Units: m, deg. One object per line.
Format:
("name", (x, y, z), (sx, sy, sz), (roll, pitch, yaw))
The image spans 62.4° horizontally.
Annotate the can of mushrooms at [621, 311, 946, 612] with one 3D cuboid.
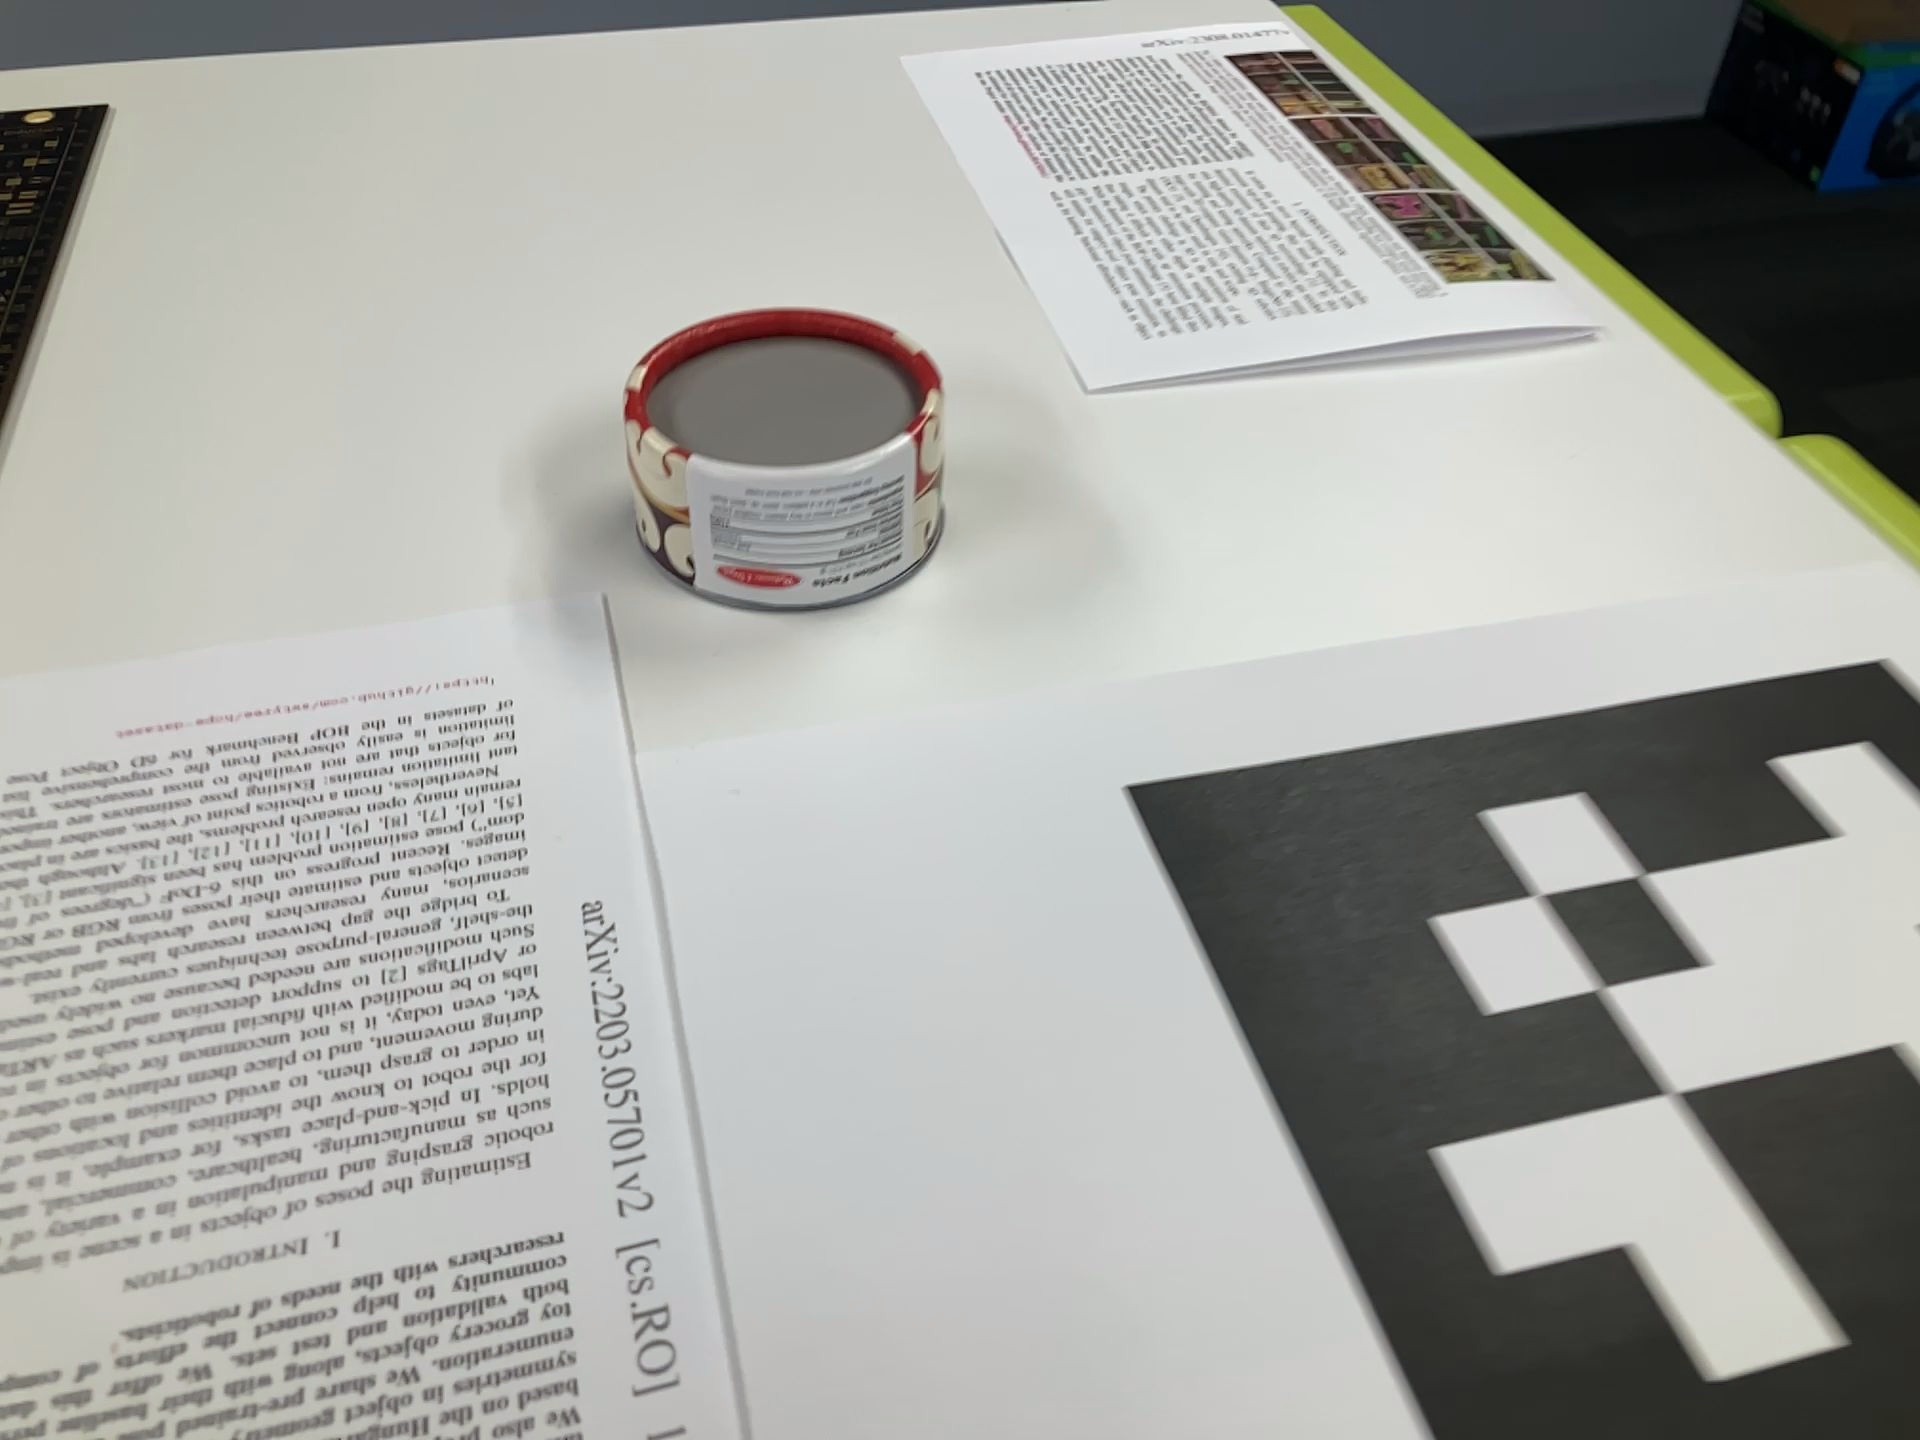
("can of mushrooms", (-0.036, -0.057, 0.331), (0.071, 0.033, 0.071), (1, 42, 0))
